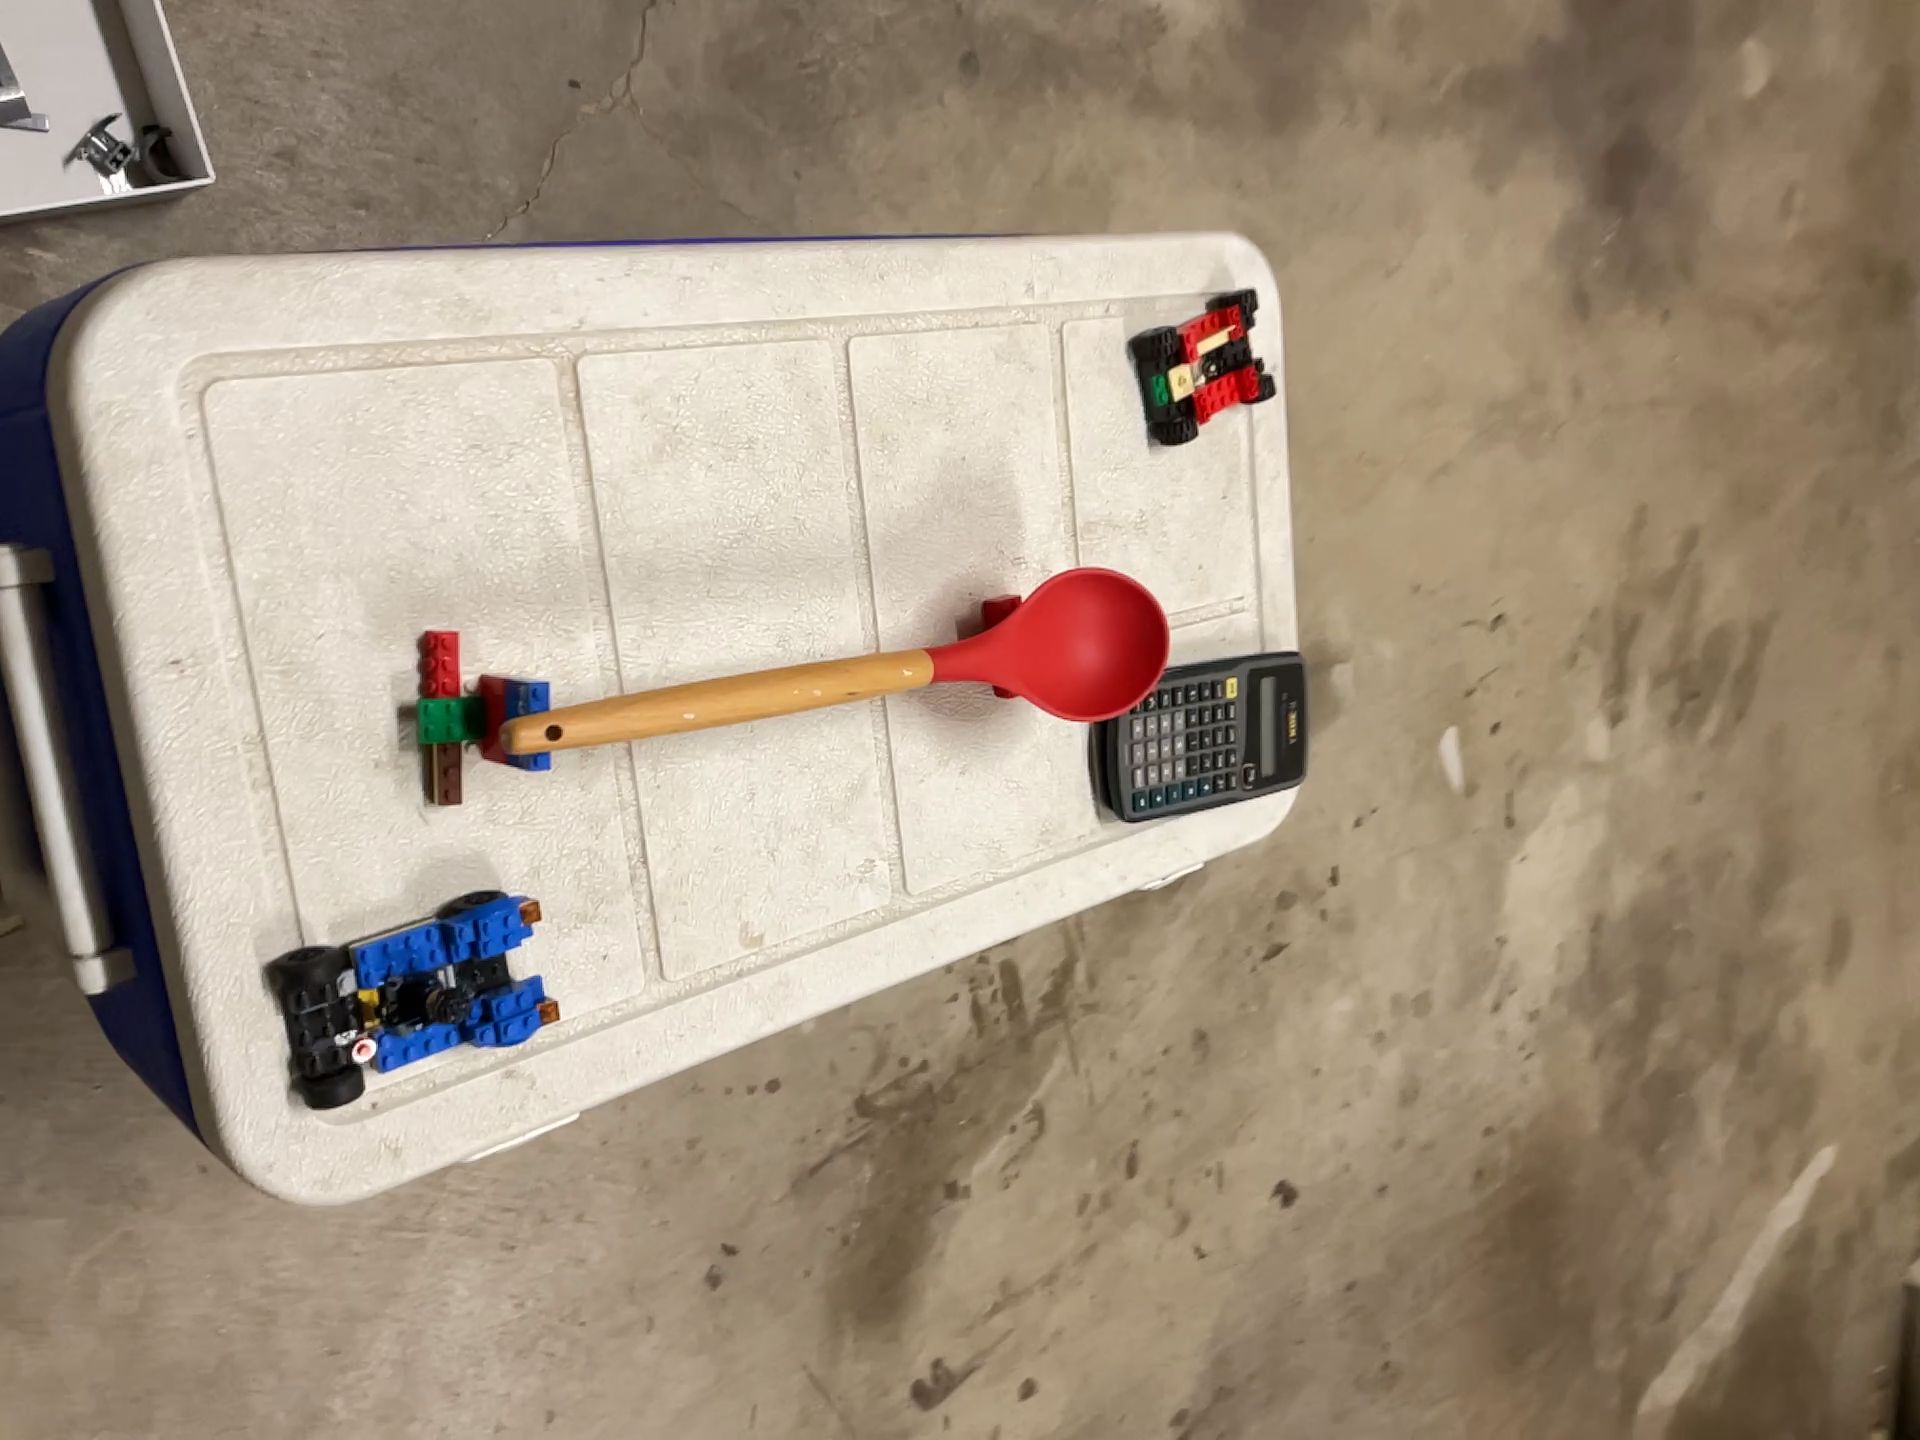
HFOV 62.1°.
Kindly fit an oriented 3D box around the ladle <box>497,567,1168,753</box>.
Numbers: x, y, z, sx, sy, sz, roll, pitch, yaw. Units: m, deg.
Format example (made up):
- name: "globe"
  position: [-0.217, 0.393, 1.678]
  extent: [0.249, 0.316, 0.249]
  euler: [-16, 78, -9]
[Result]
- name: "ladle"
  position: [-0.036, -0.017, 0.643]
  extent: [0.315, 0.031, 0.069]
  euler: [-11, 97, -39]
